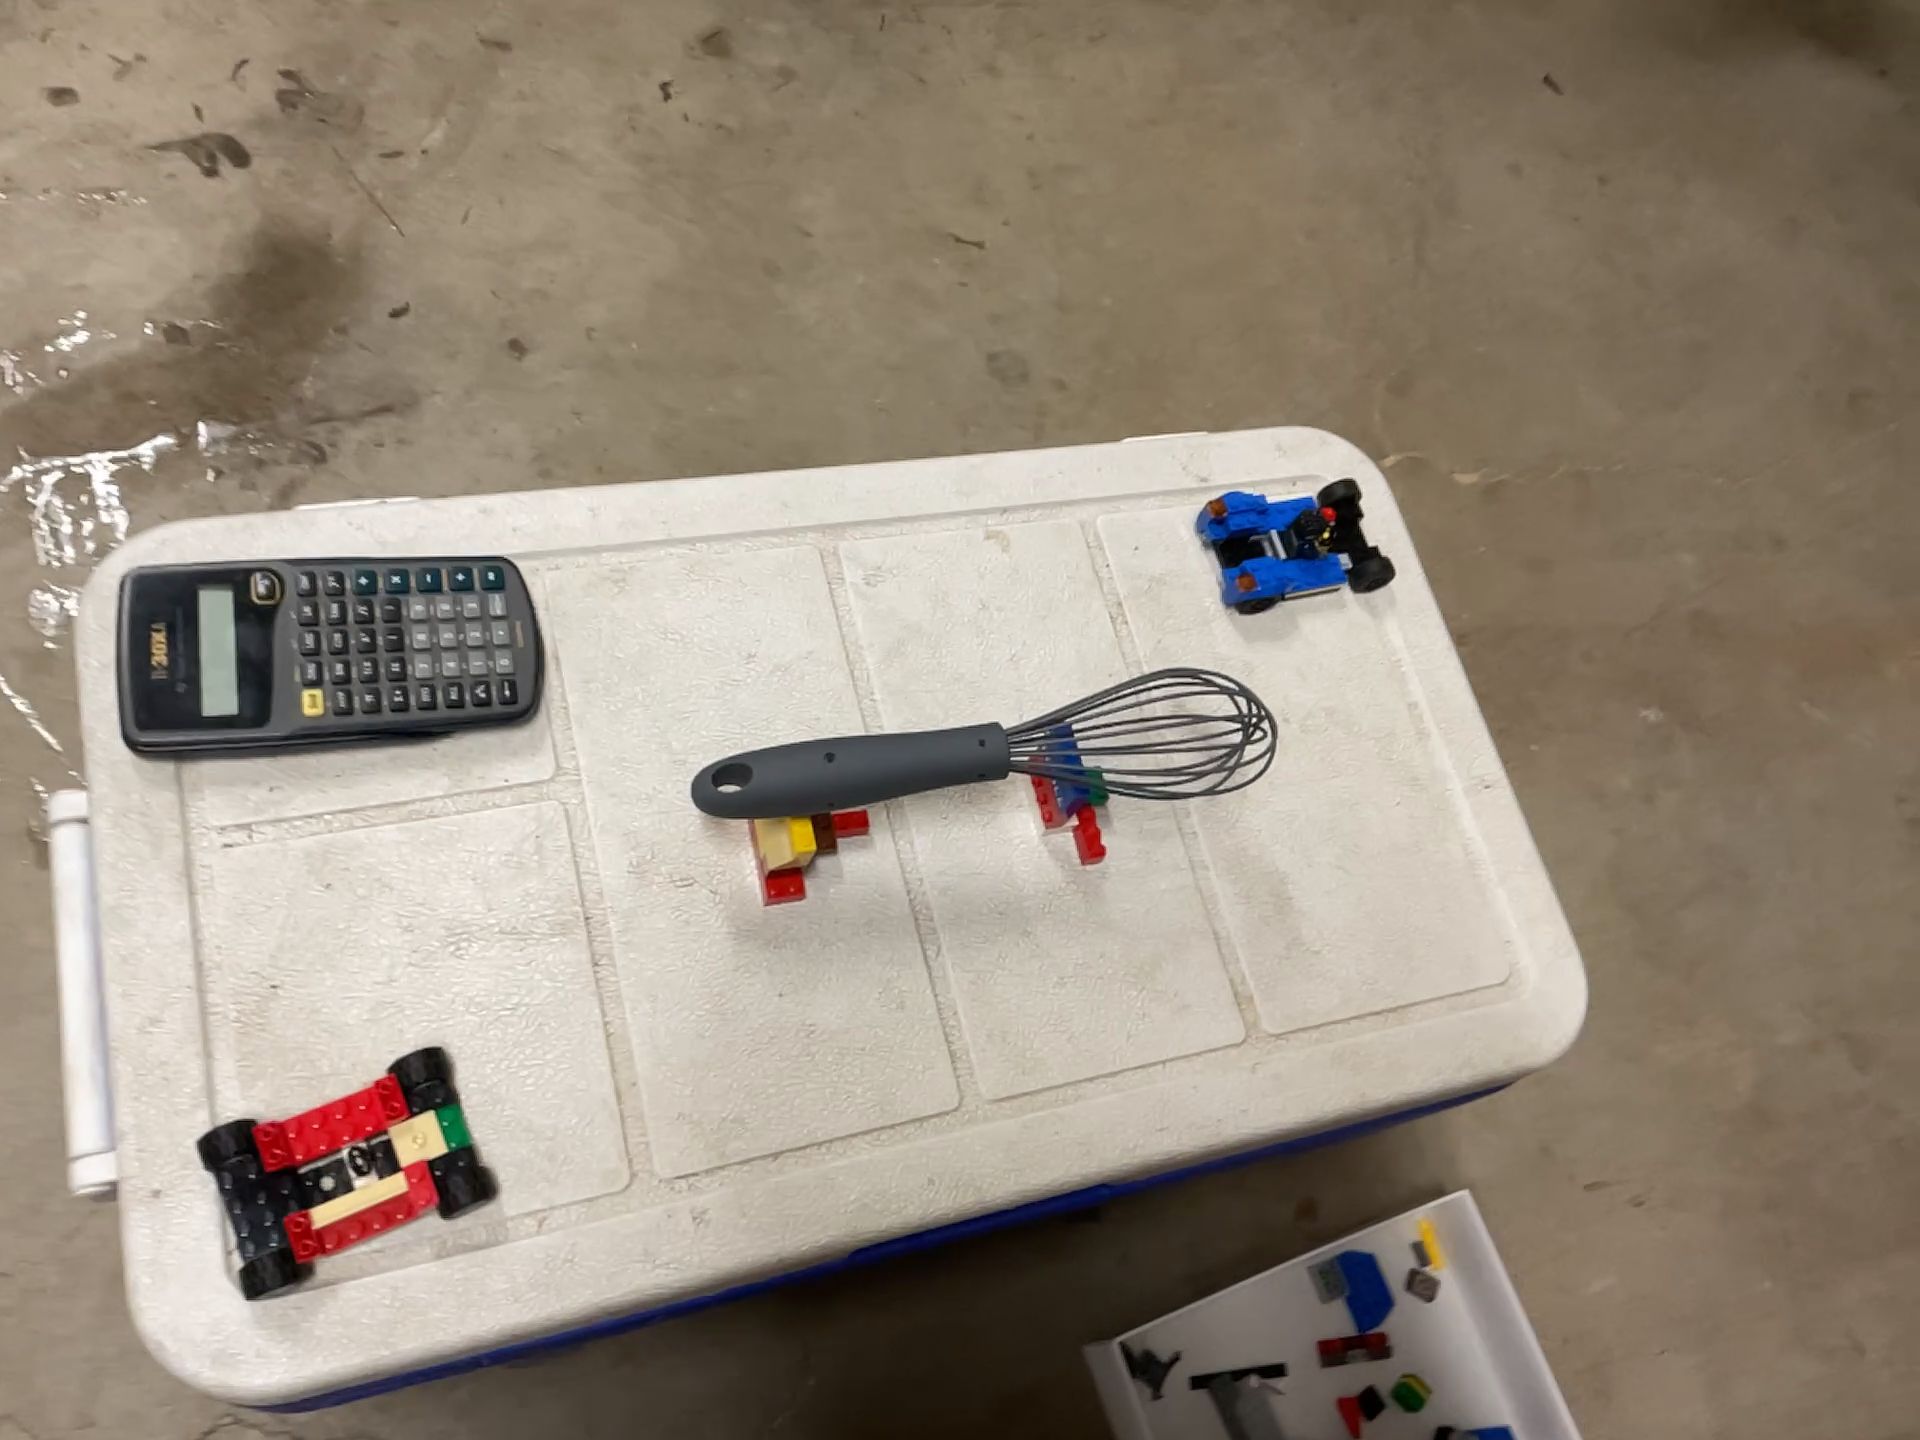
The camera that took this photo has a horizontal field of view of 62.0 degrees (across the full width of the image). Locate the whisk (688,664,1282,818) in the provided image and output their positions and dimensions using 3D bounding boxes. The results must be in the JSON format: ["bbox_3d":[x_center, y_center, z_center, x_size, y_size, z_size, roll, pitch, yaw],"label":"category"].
[{"bbox_3d":[0.013,0.011,0.626,0.239,0.055,0.055,-7,66,-14],"label":"whisk"}]
